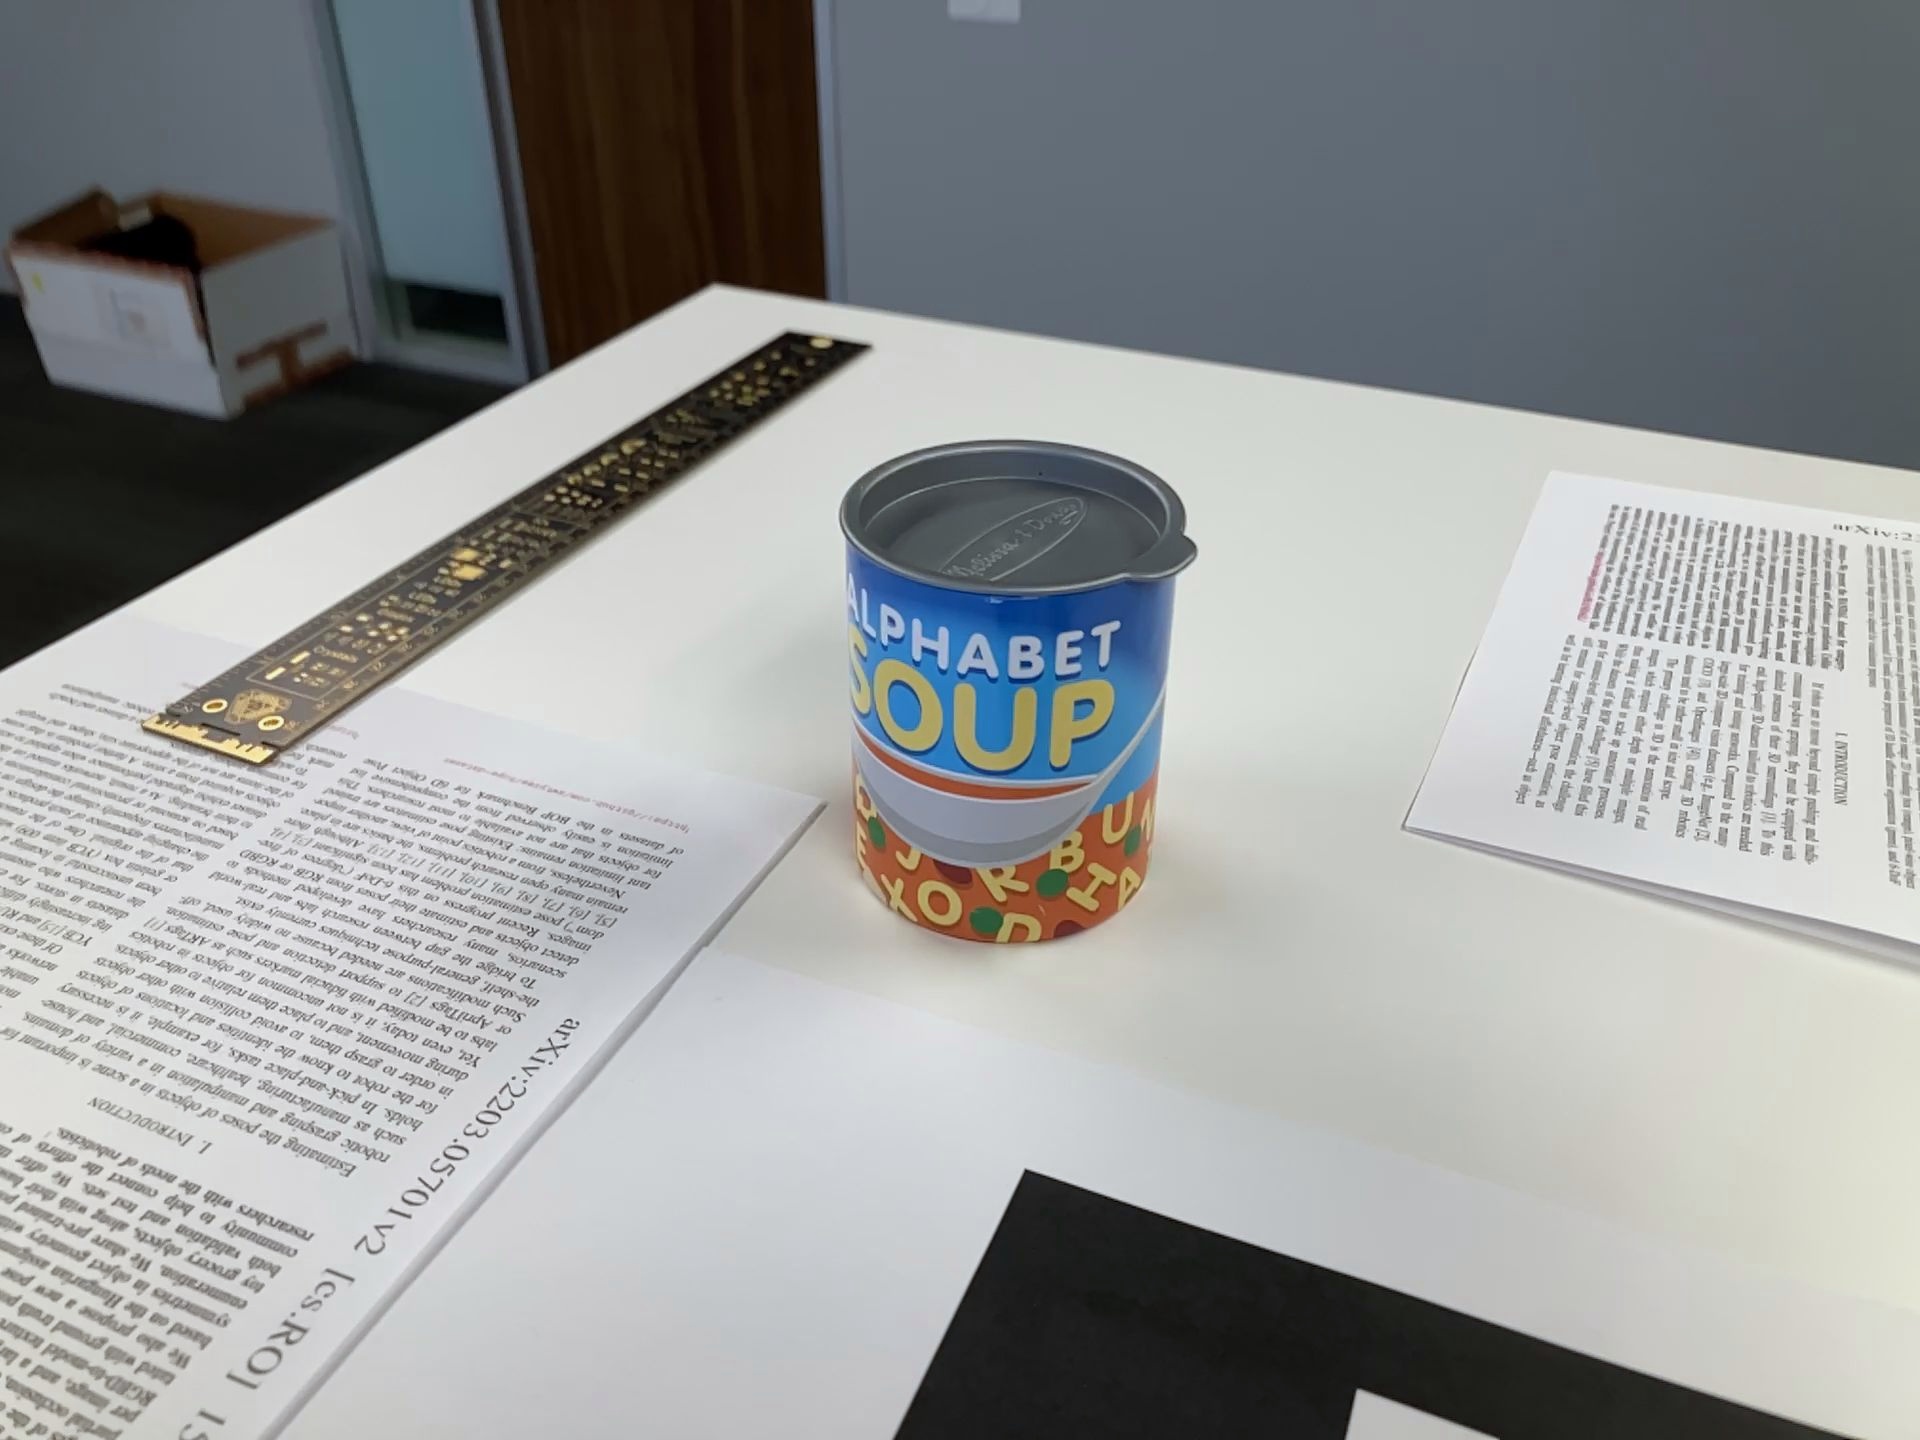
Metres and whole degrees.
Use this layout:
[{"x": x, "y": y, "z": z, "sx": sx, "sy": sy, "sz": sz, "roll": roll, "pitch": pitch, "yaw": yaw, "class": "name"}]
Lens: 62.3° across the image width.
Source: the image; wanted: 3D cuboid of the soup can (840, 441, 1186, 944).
[{"x": 0.009, "y": -0.005, "z": 0.325, "sx": 0.071, "sy": 0.084, "sz": 0.071, "roll": 0, "pitch": 32, "yaw": 0, "class": "soup can"}]
